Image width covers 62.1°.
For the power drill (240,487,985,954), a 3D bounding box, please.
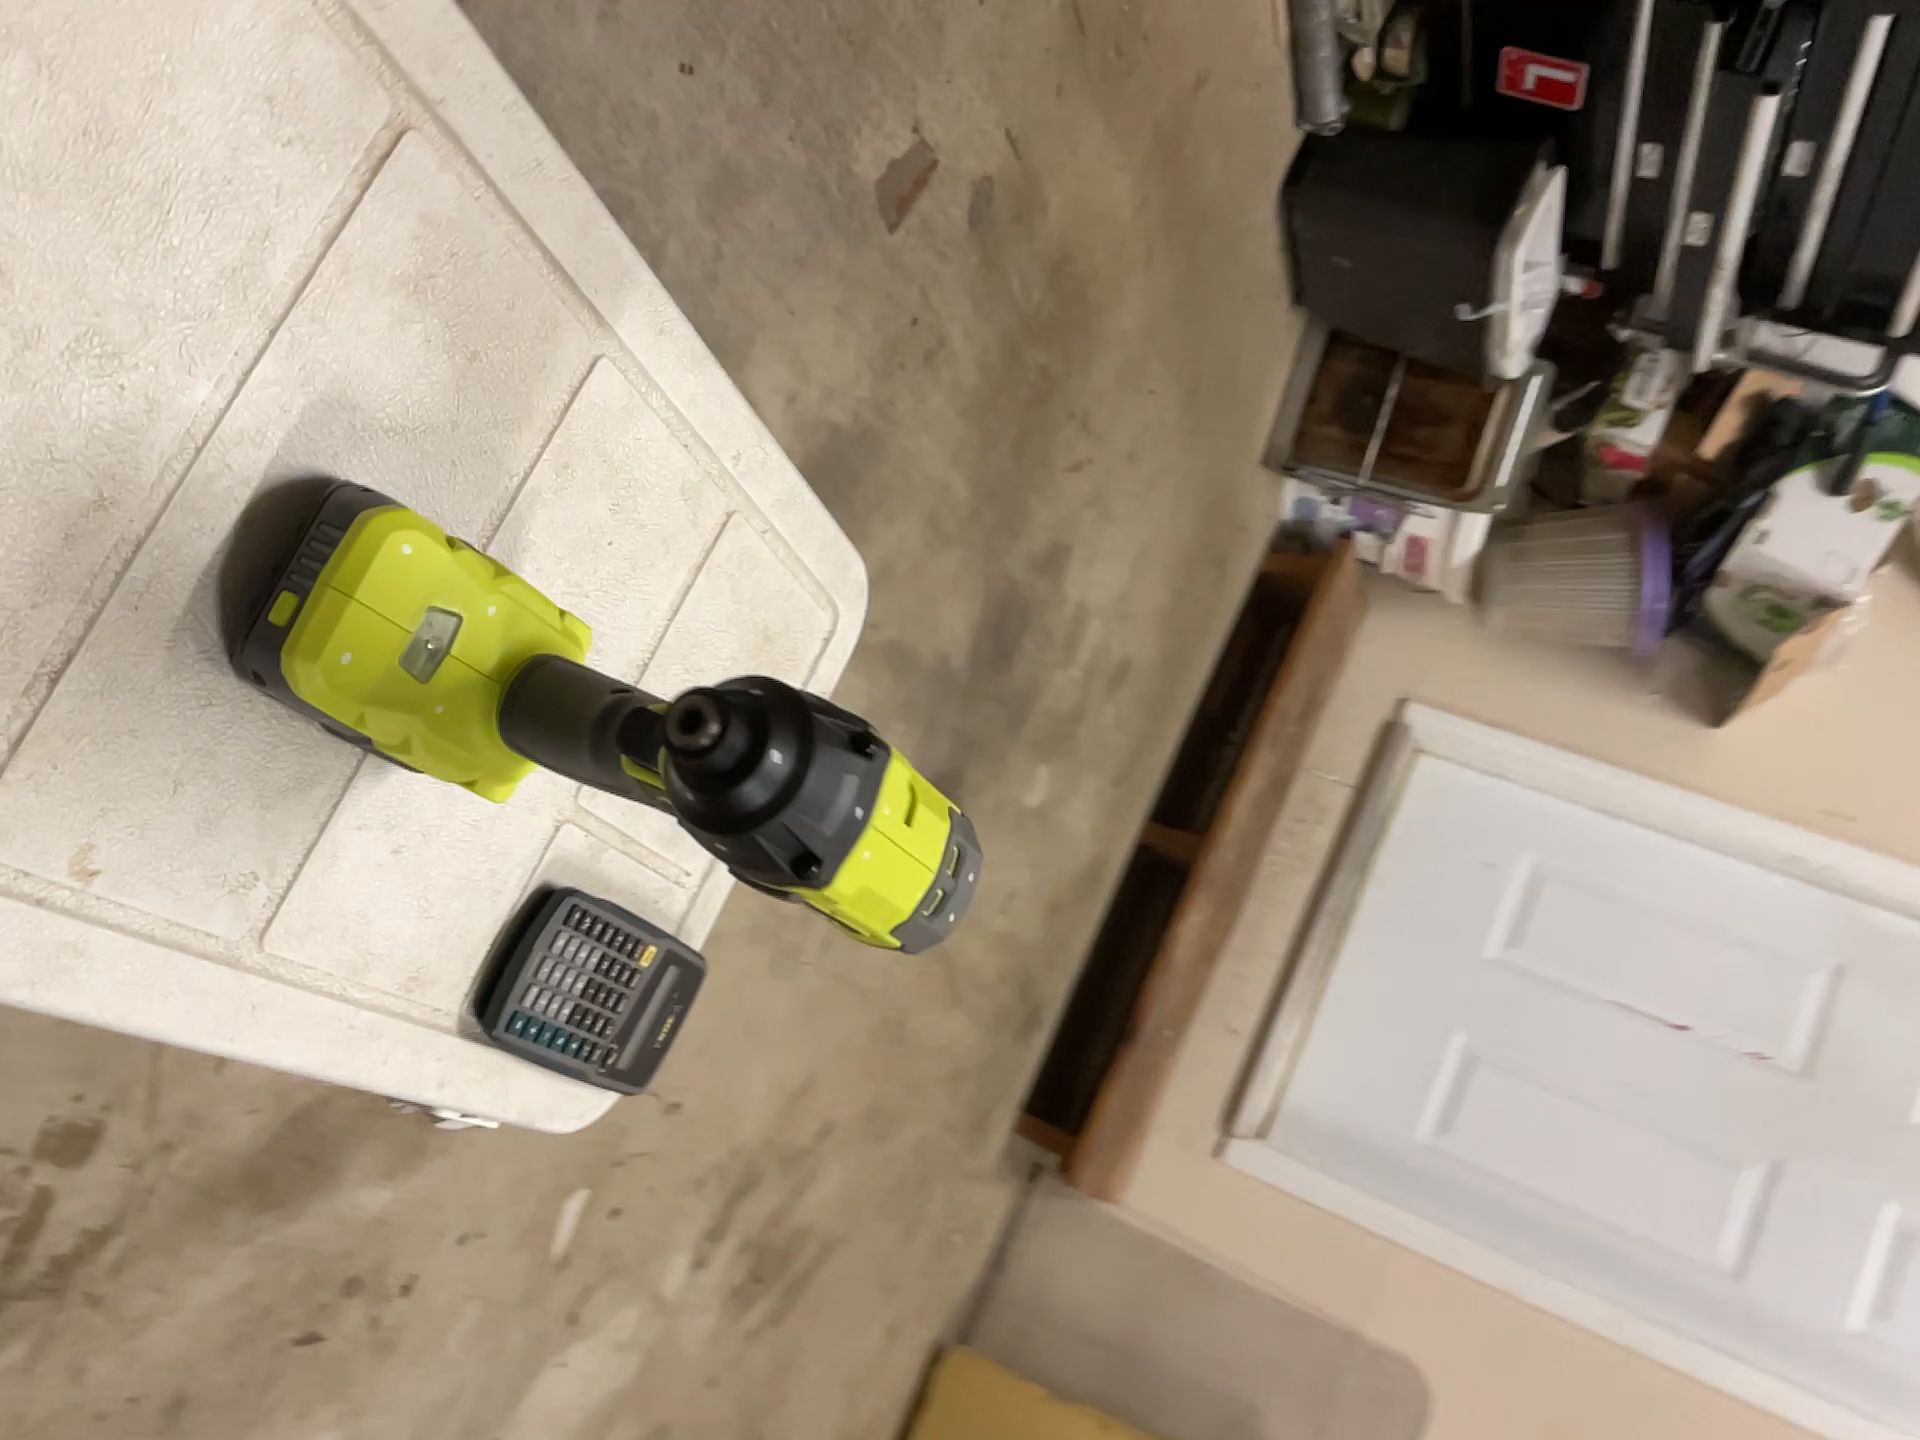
[{"bbox_3d":[-0.115,0.001,0.524,0.080,0.223,0.171,-66,156,-11],"label":"power drill"}]
